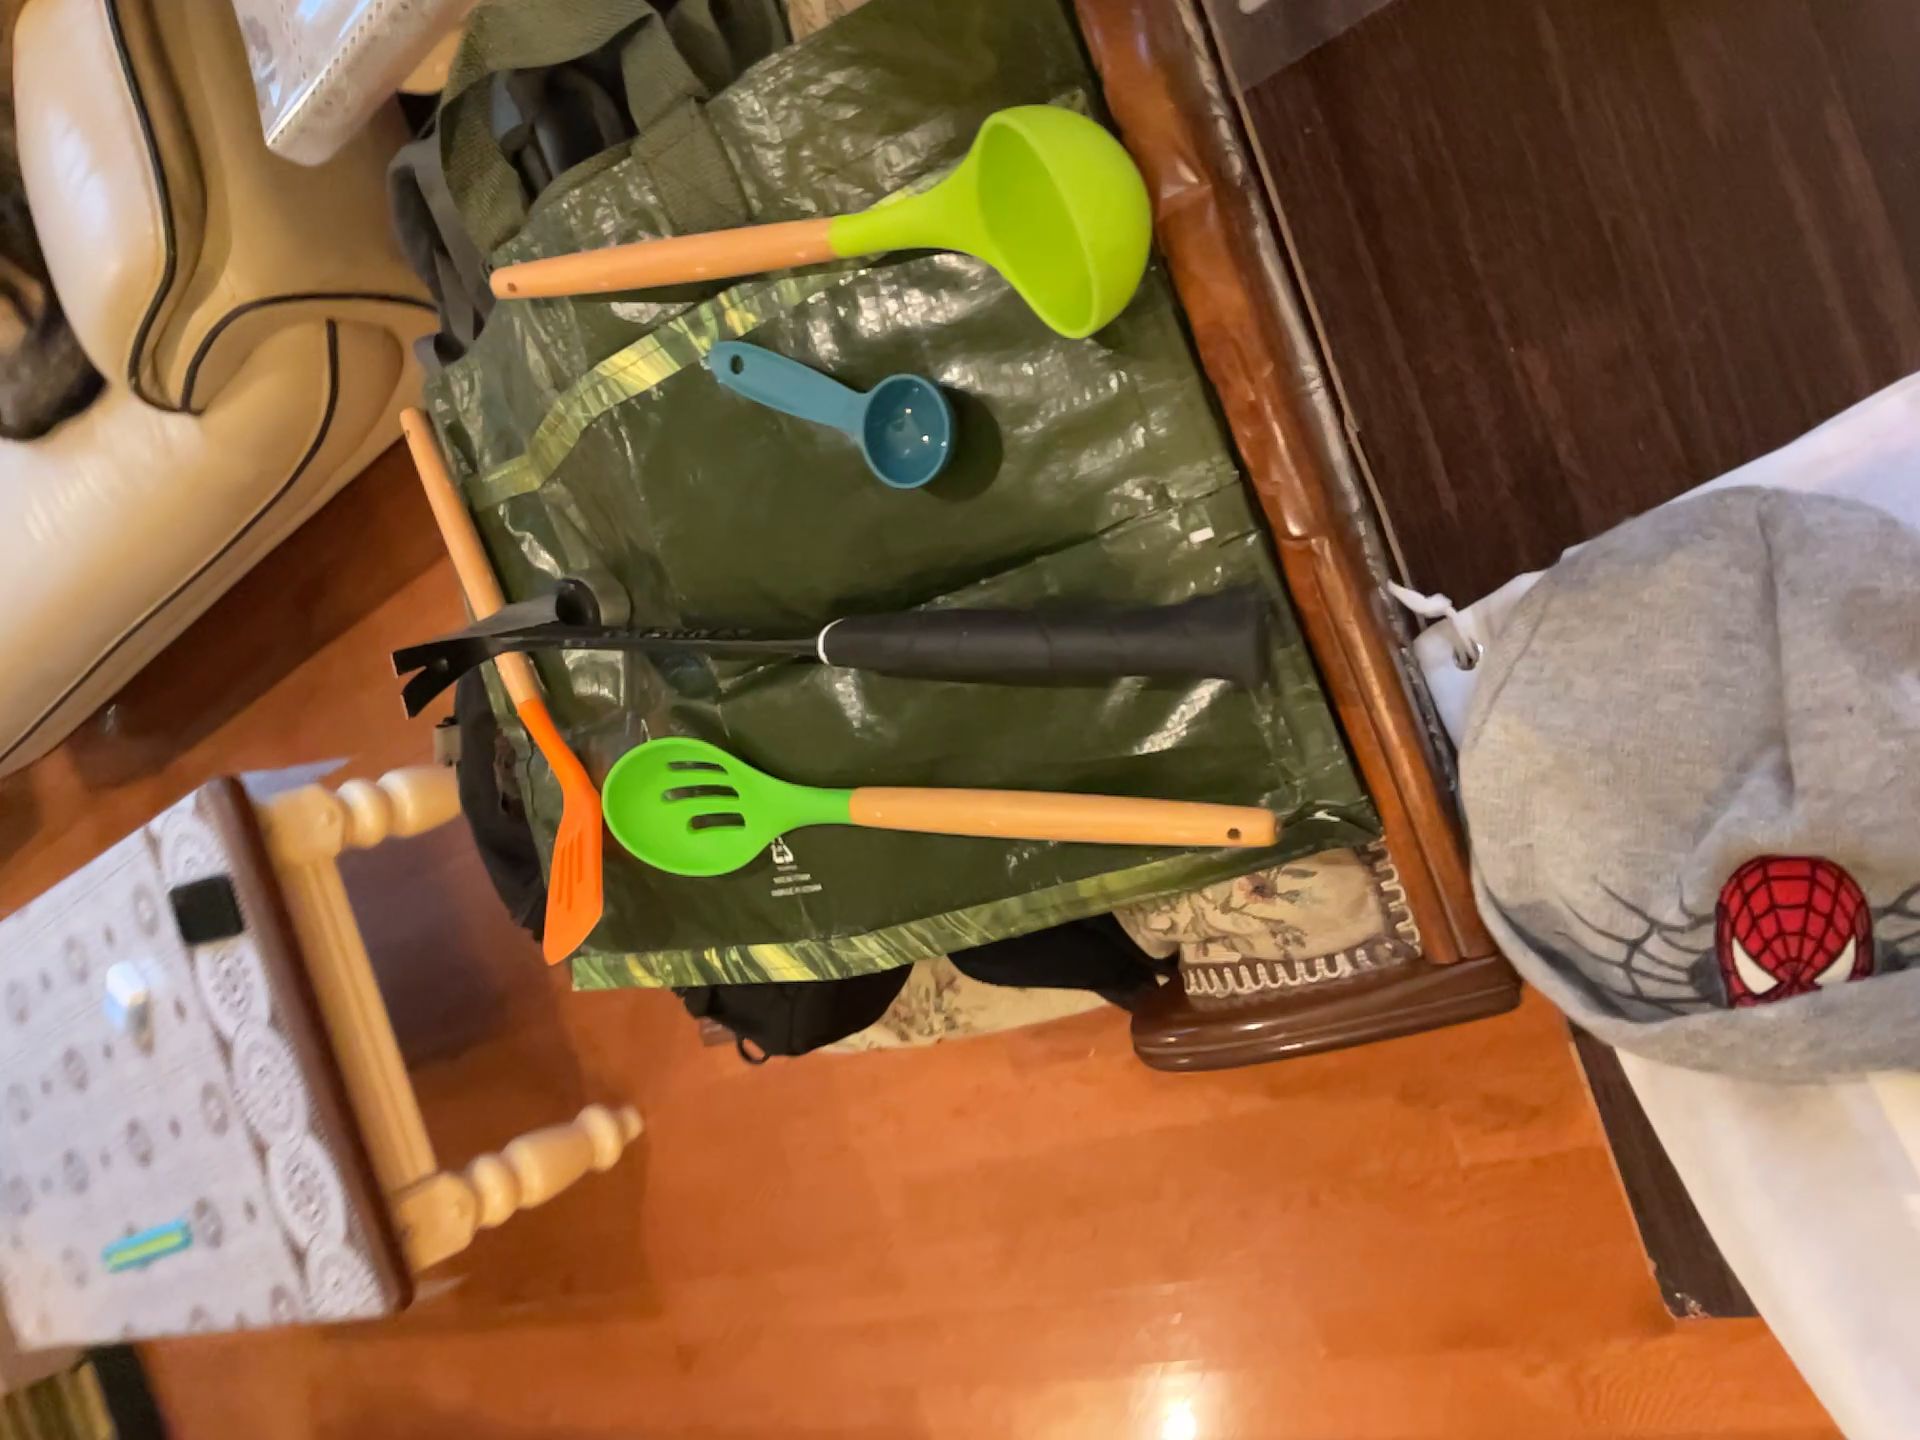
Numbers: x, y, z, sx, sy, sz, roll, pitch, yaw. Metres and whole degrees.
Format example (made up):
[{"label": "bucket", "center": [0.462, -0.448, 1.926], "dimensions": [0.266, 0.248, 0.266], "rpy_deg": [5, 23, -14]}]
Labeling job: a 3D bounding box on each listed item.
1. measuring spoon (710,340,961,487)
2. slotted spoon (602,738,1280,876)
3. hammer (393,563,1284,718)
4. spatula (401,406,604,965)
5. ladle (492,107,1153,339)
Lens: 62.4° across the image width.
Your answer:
[{"label": "measuring spoon", "center": [-0.048, -0.127, 0.623], "dimensions": [0.129, 0.021, 0.042], "rpy_deg": [27, 115, 31]}, {"label": "slotted spoon", "center": [-0.020, 0.038, 0.656], "dimensions": [0.314, 0.031, 0.070], "rpy_deg": [0, 116, 30]}, {"label": "hammer", "center": [-0.061, -0.033, 0.655], "dimensions": [0.409, 0.149, 0.036], "rpy_deg": [2, 111, 33]}, {"label": "spatula", "center": [-0.250, -0.029, 0.856], "dimensions": [0.081, 0.041, 0.323], "rpy_deg": [-38, 73, 47]}, {"label": "ladle", "center": [-0.072, -0.176, 0.605], "dimensions": [0.320, 0.062, 0.078], "rpy_deg": [4, 128, 32]}]
